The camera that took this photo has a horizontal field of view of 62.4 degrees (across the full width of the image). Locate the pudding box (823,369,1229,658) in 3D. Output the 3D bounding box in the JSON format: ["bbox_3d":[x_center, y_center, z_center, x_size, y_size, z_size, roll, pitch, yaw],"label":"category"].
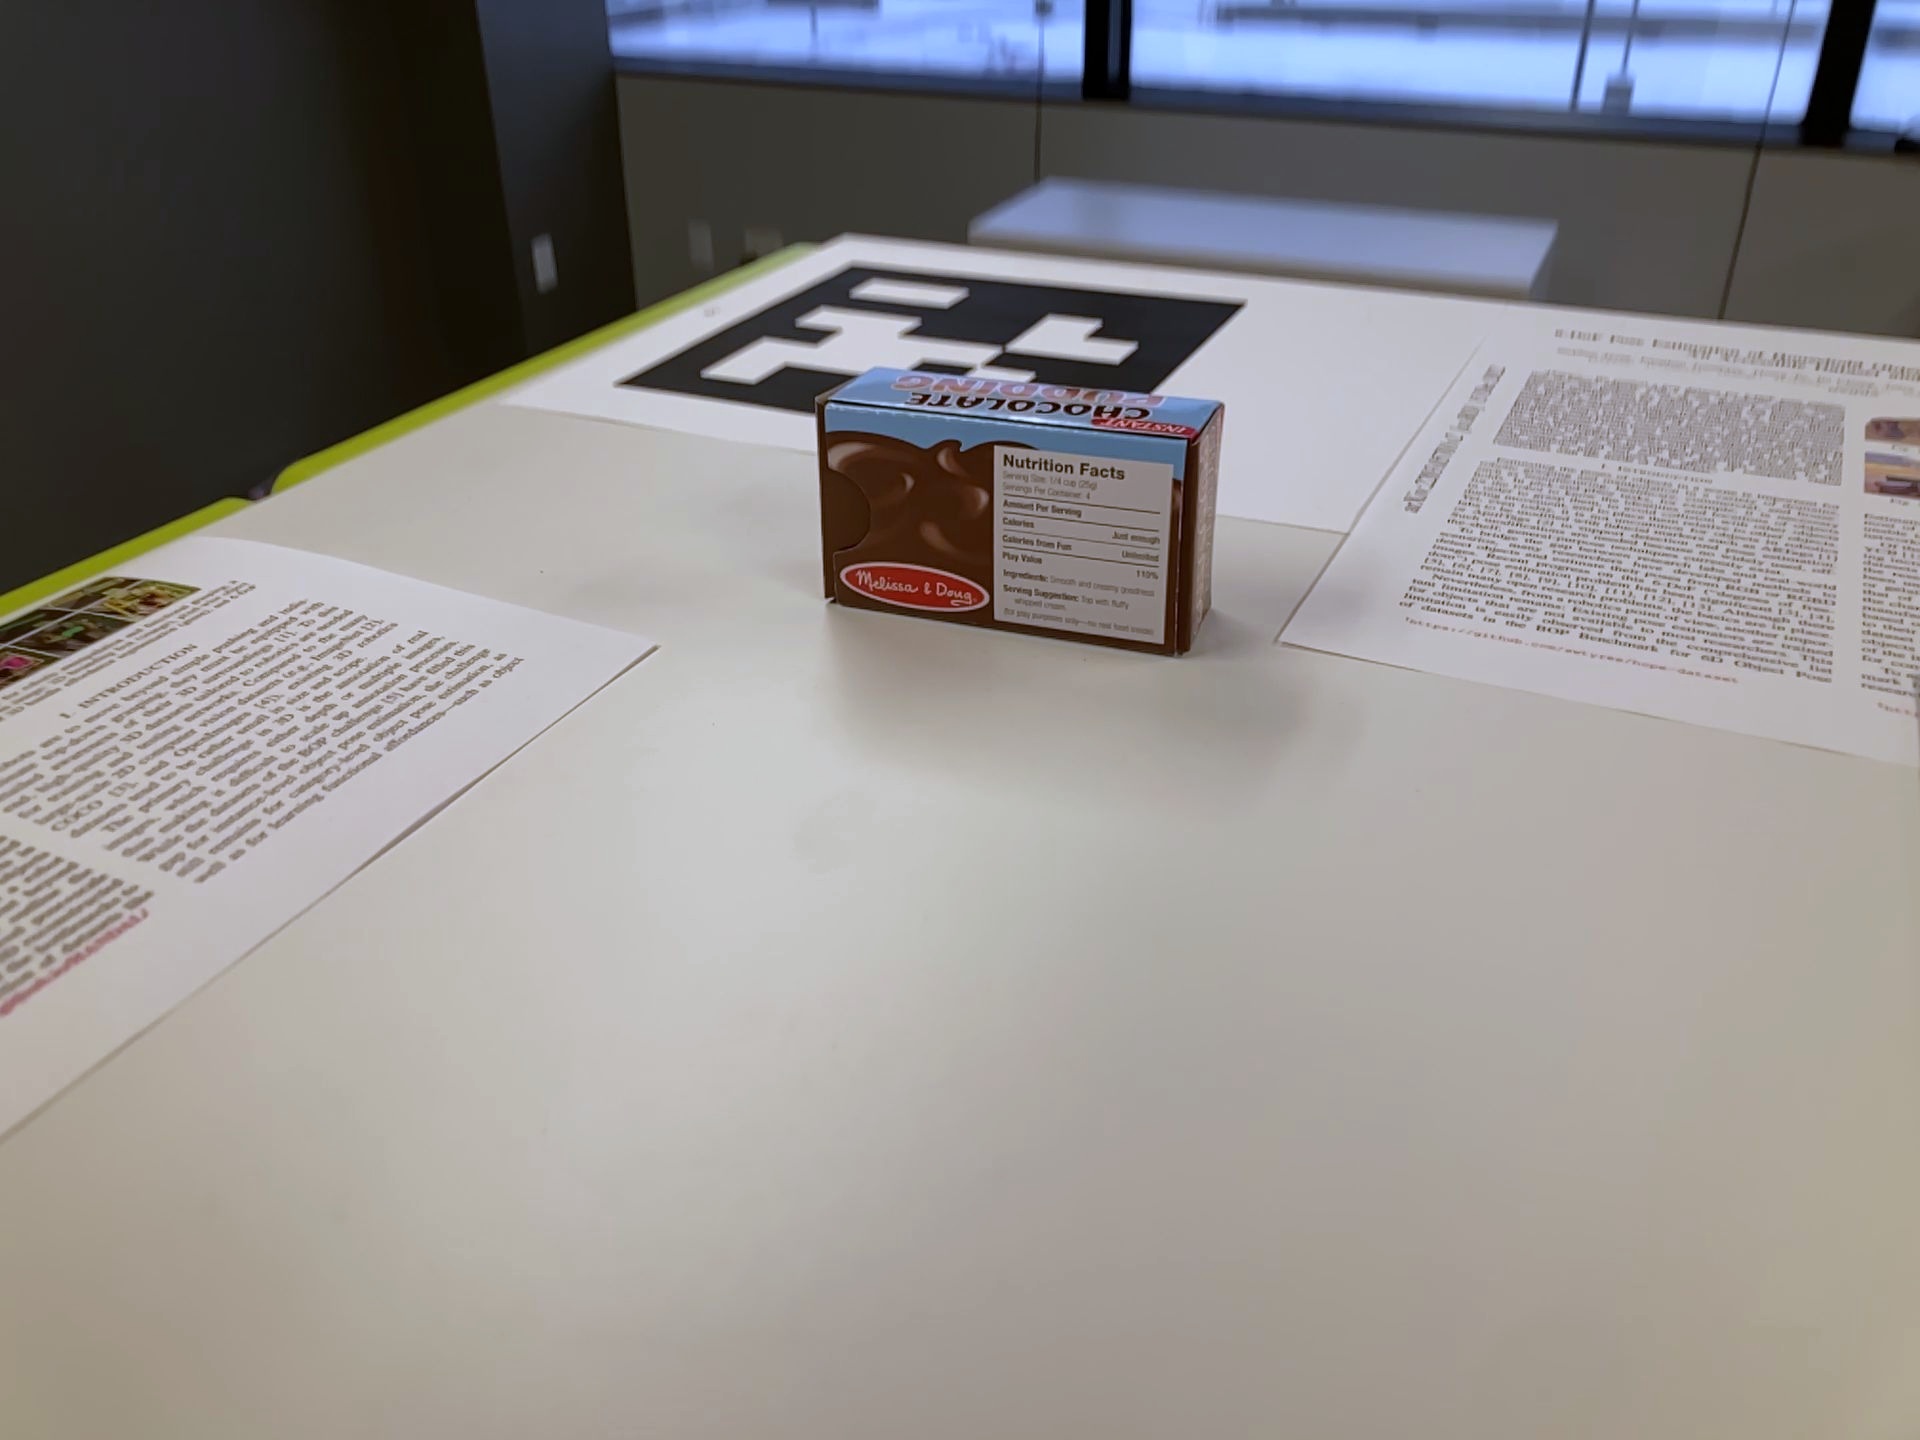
[{"bbox_3d":[0.014,-0.047,0.348,0.083,0.049,0.030,9,30,19],"label":"pudding box"}]
